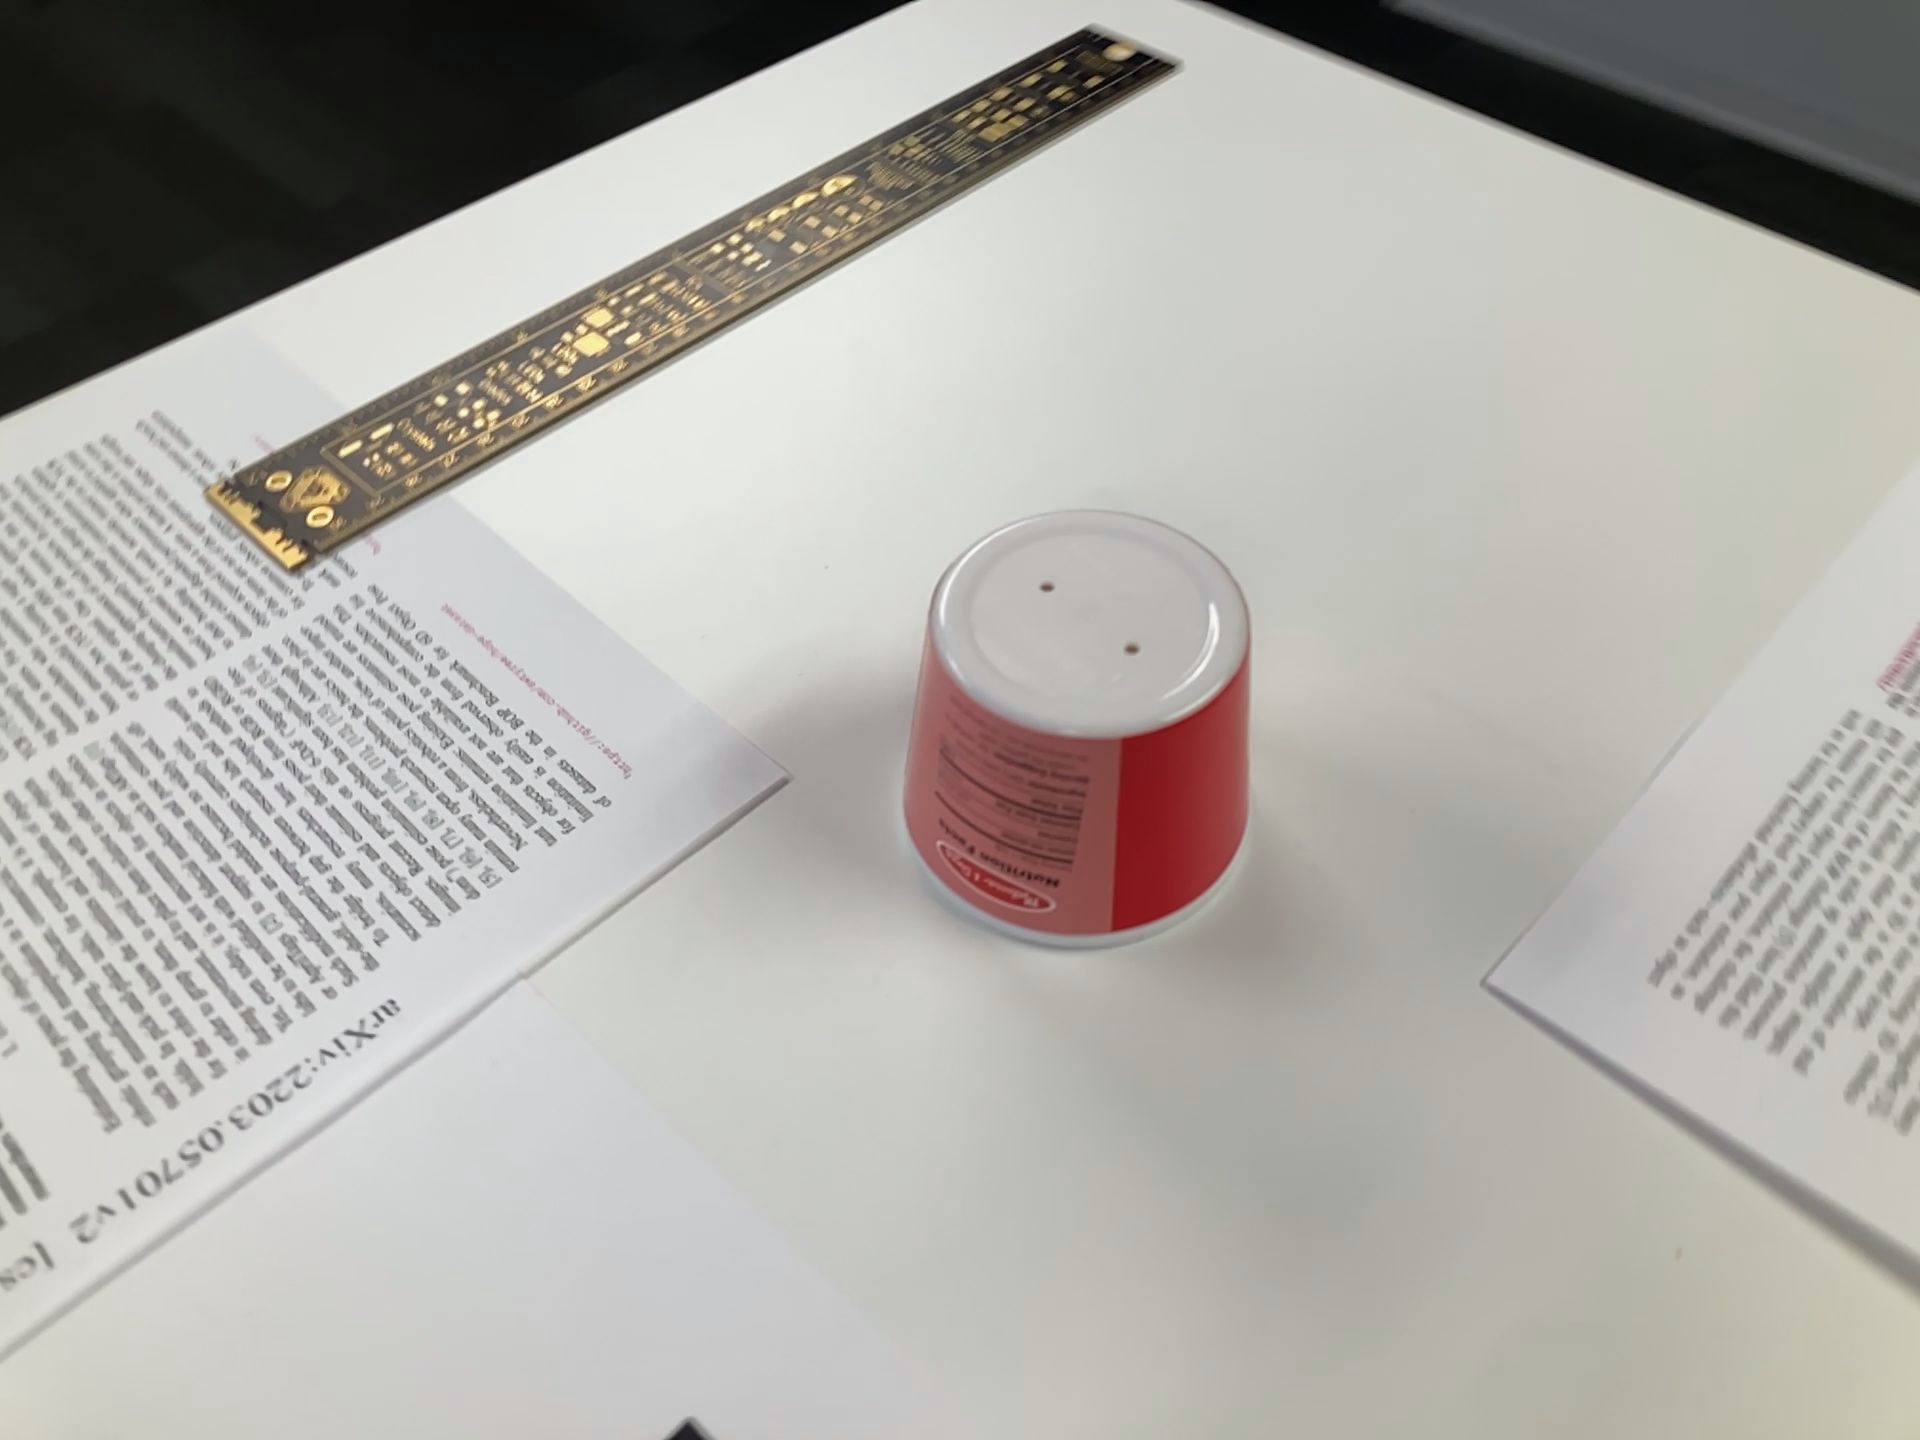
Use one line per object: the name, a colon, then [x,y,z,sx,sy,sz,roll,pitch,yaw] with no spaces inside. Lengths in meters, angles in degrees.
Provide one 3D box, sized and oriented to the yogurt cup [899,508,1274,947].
yogurt cup: [0.022,-0.001,0.287,0.072,0.054,0.072,0,50,0]
